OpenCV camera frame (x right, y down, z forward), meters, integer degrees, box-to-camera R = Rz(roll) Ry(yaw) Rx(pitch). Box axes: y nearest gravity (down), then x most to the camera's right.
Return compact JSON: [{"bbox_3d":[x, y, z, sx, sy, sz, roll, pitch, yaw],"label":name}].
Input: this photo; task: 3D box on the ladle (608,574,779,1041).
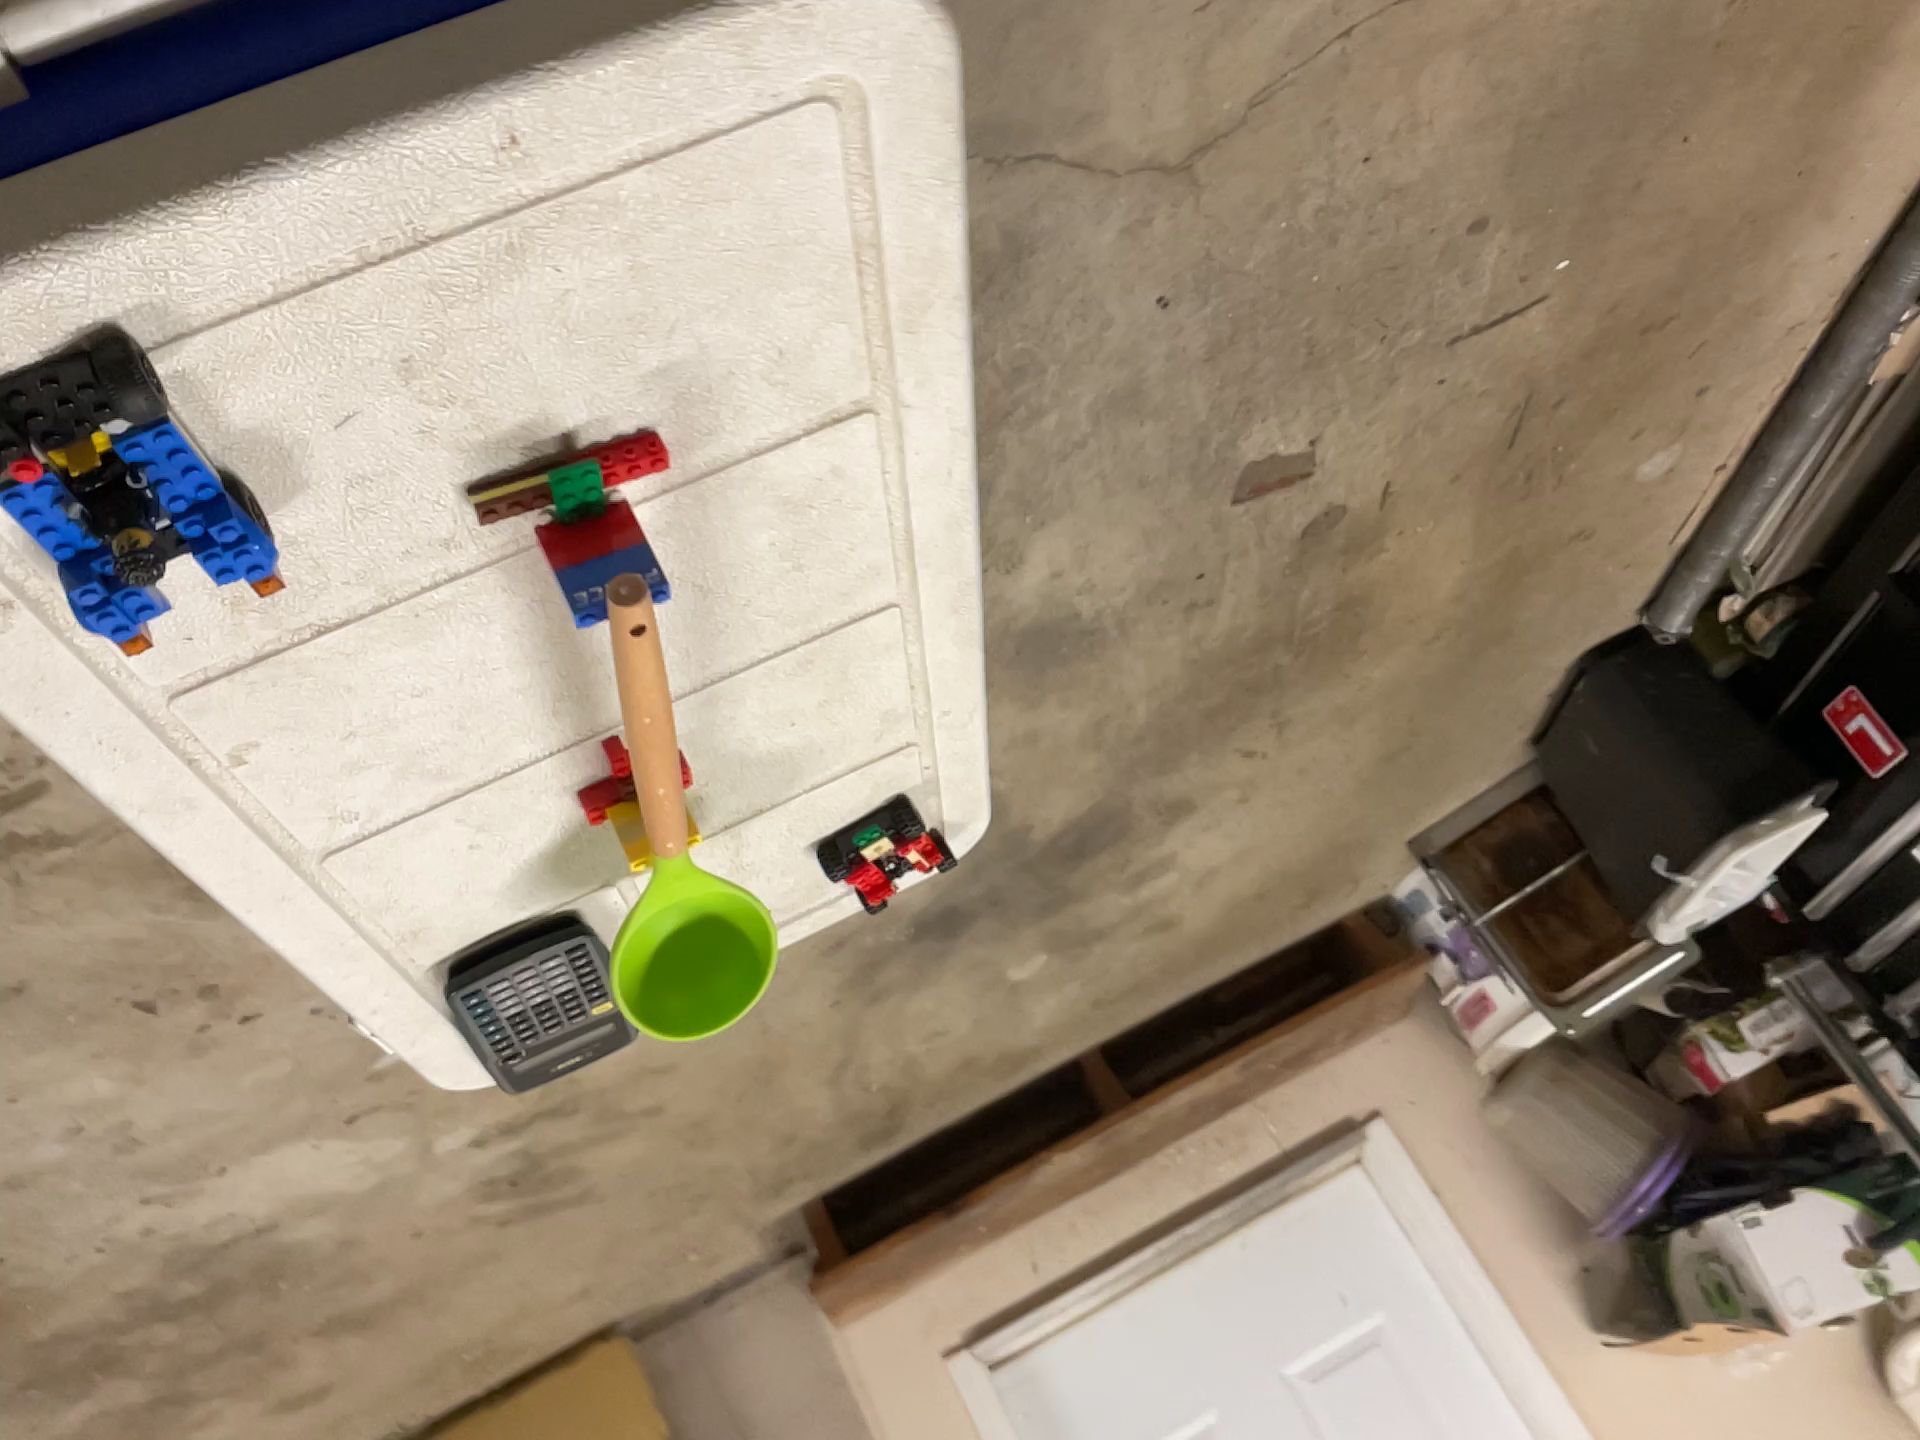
[{"bbox_3d":[-0.112,0.047,0.629,0.078,0.062,0.319,-21,155,-17],"label":"ladle"}]
